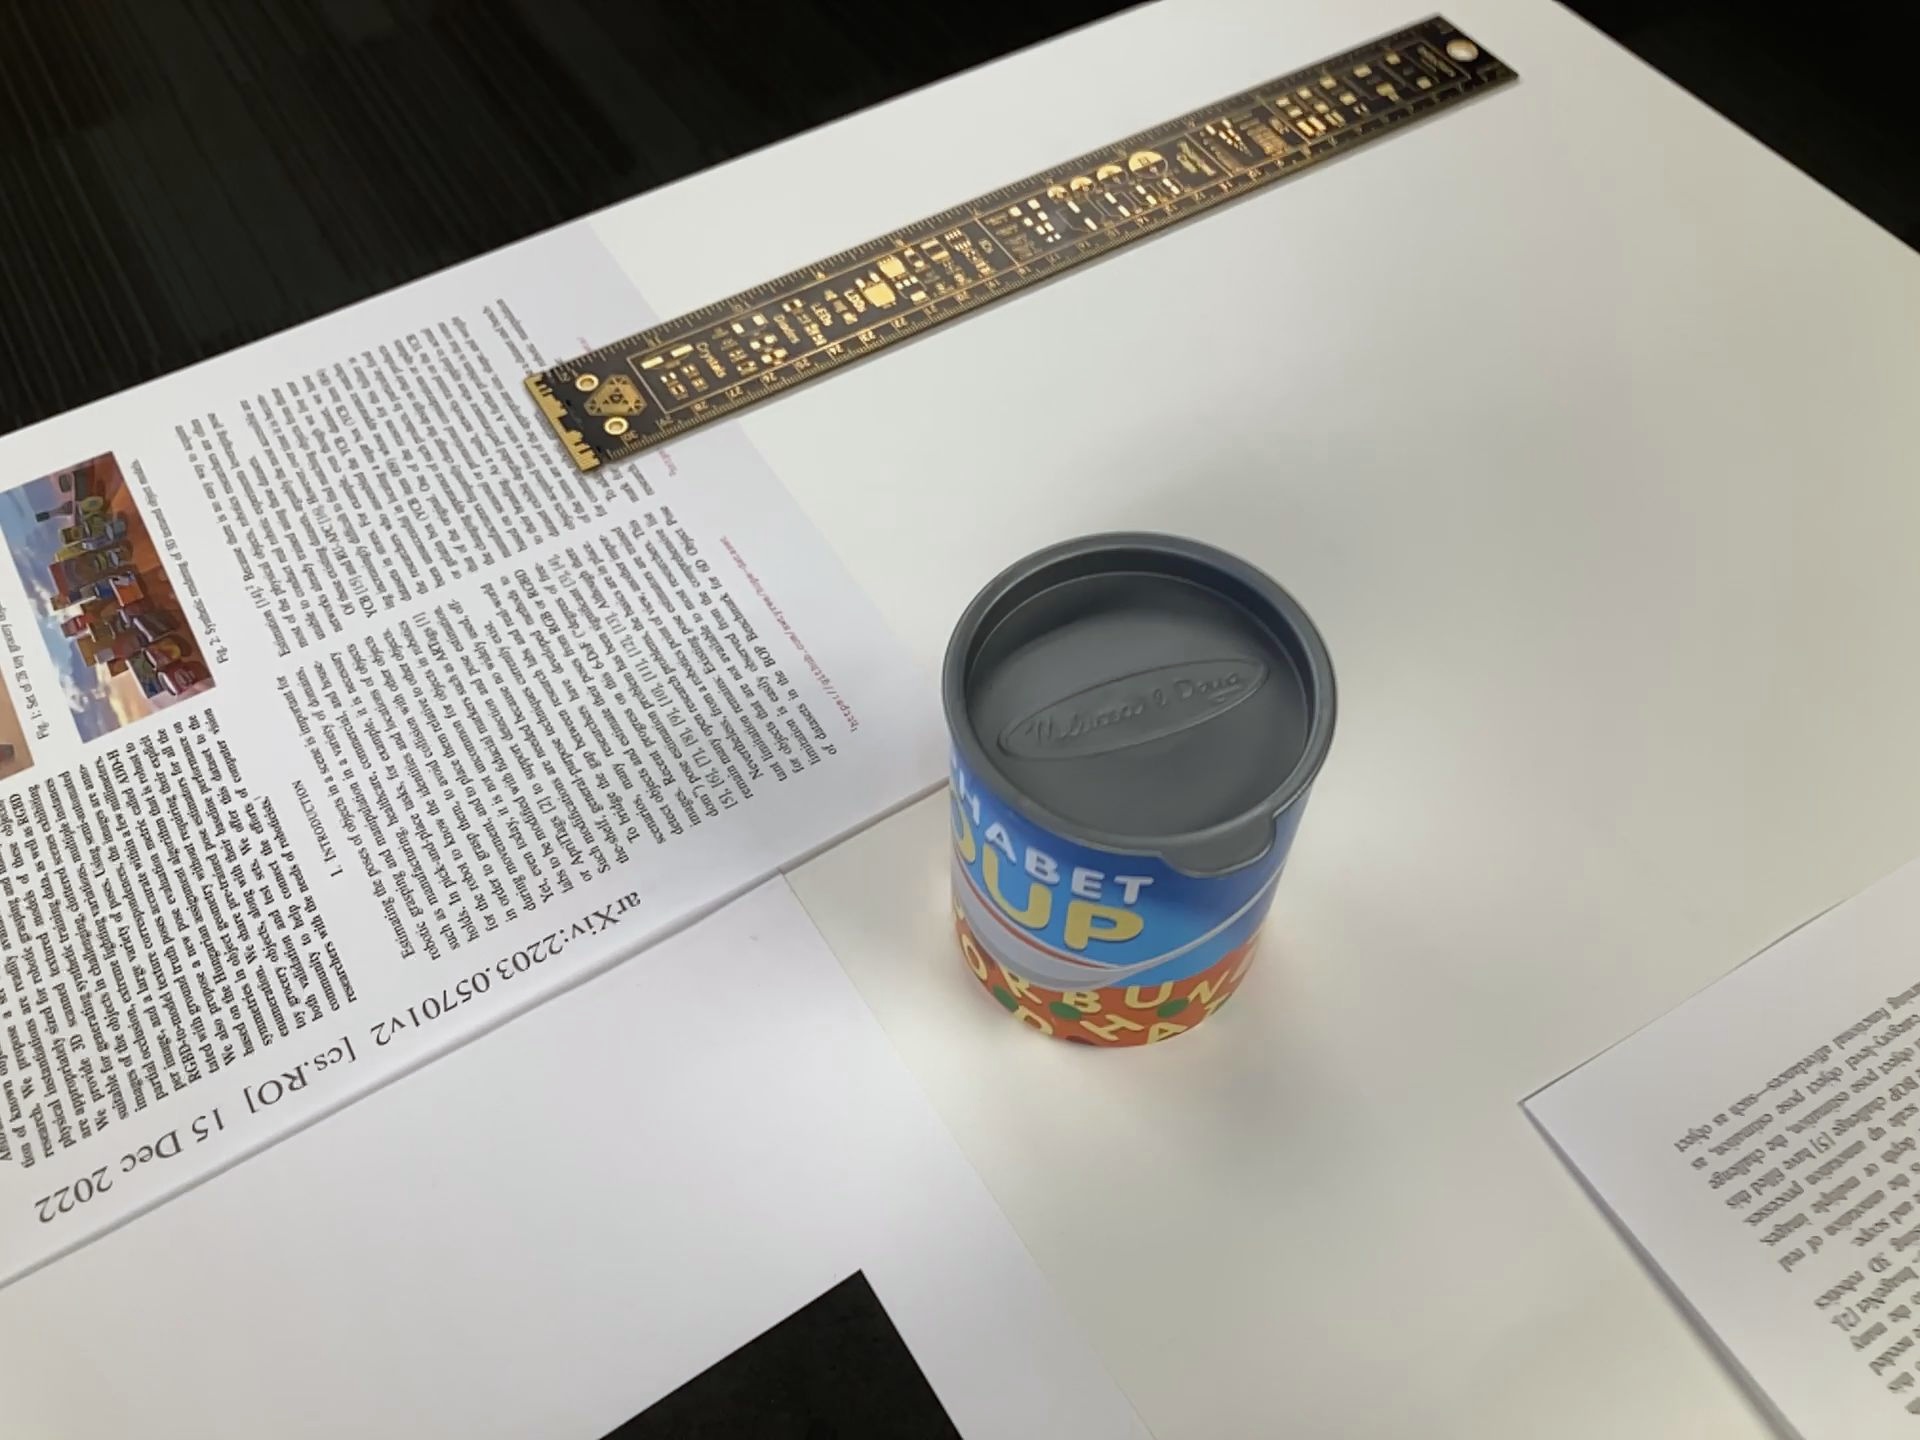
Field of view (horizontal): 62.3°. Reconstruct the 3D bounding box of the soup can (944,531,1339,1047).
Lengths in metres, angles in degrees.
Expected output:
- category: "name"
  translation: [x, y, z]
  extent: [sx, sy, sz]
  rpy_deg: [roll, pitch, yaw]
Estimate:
- category: "soup can"
  translation: [0.028, 0.017, 0.302]
  extent: [0.071, 0.084, 0.071]
  rpy_deg: [0, 55, 0]
